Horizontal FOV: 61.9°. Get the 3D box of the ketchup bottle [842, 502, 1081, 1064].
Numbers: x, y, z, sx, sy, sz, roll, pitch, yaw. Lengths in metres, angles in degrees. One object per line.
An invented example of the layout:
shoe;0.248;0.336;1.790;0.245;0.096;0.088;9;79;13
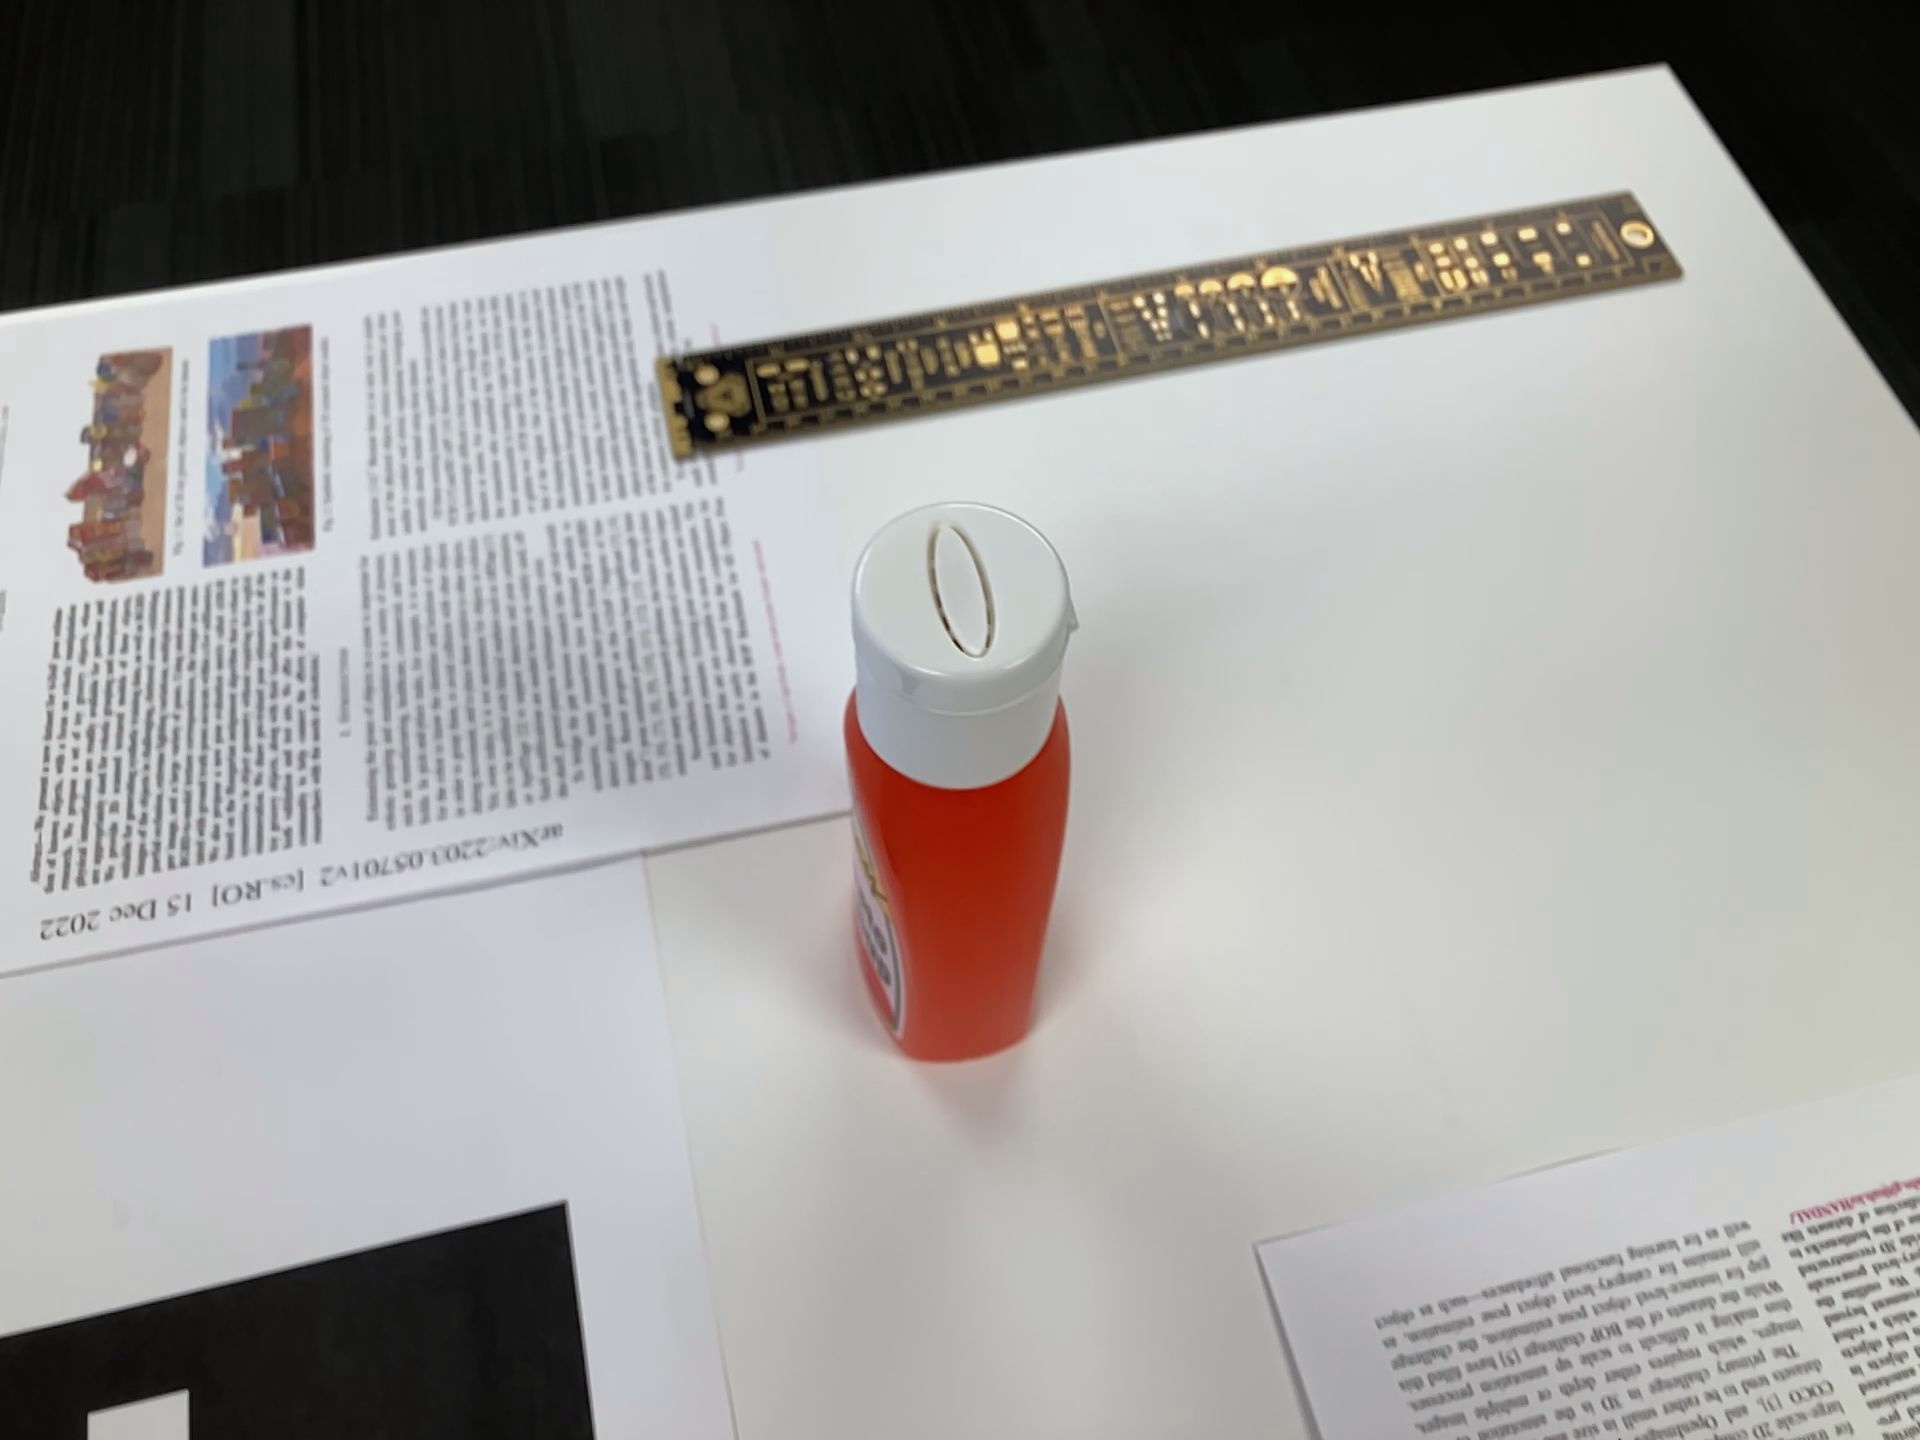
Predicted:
ketchup bottle;-0.001;0.016;0.322;0.043;0.149;0.065;-9;60;-8
